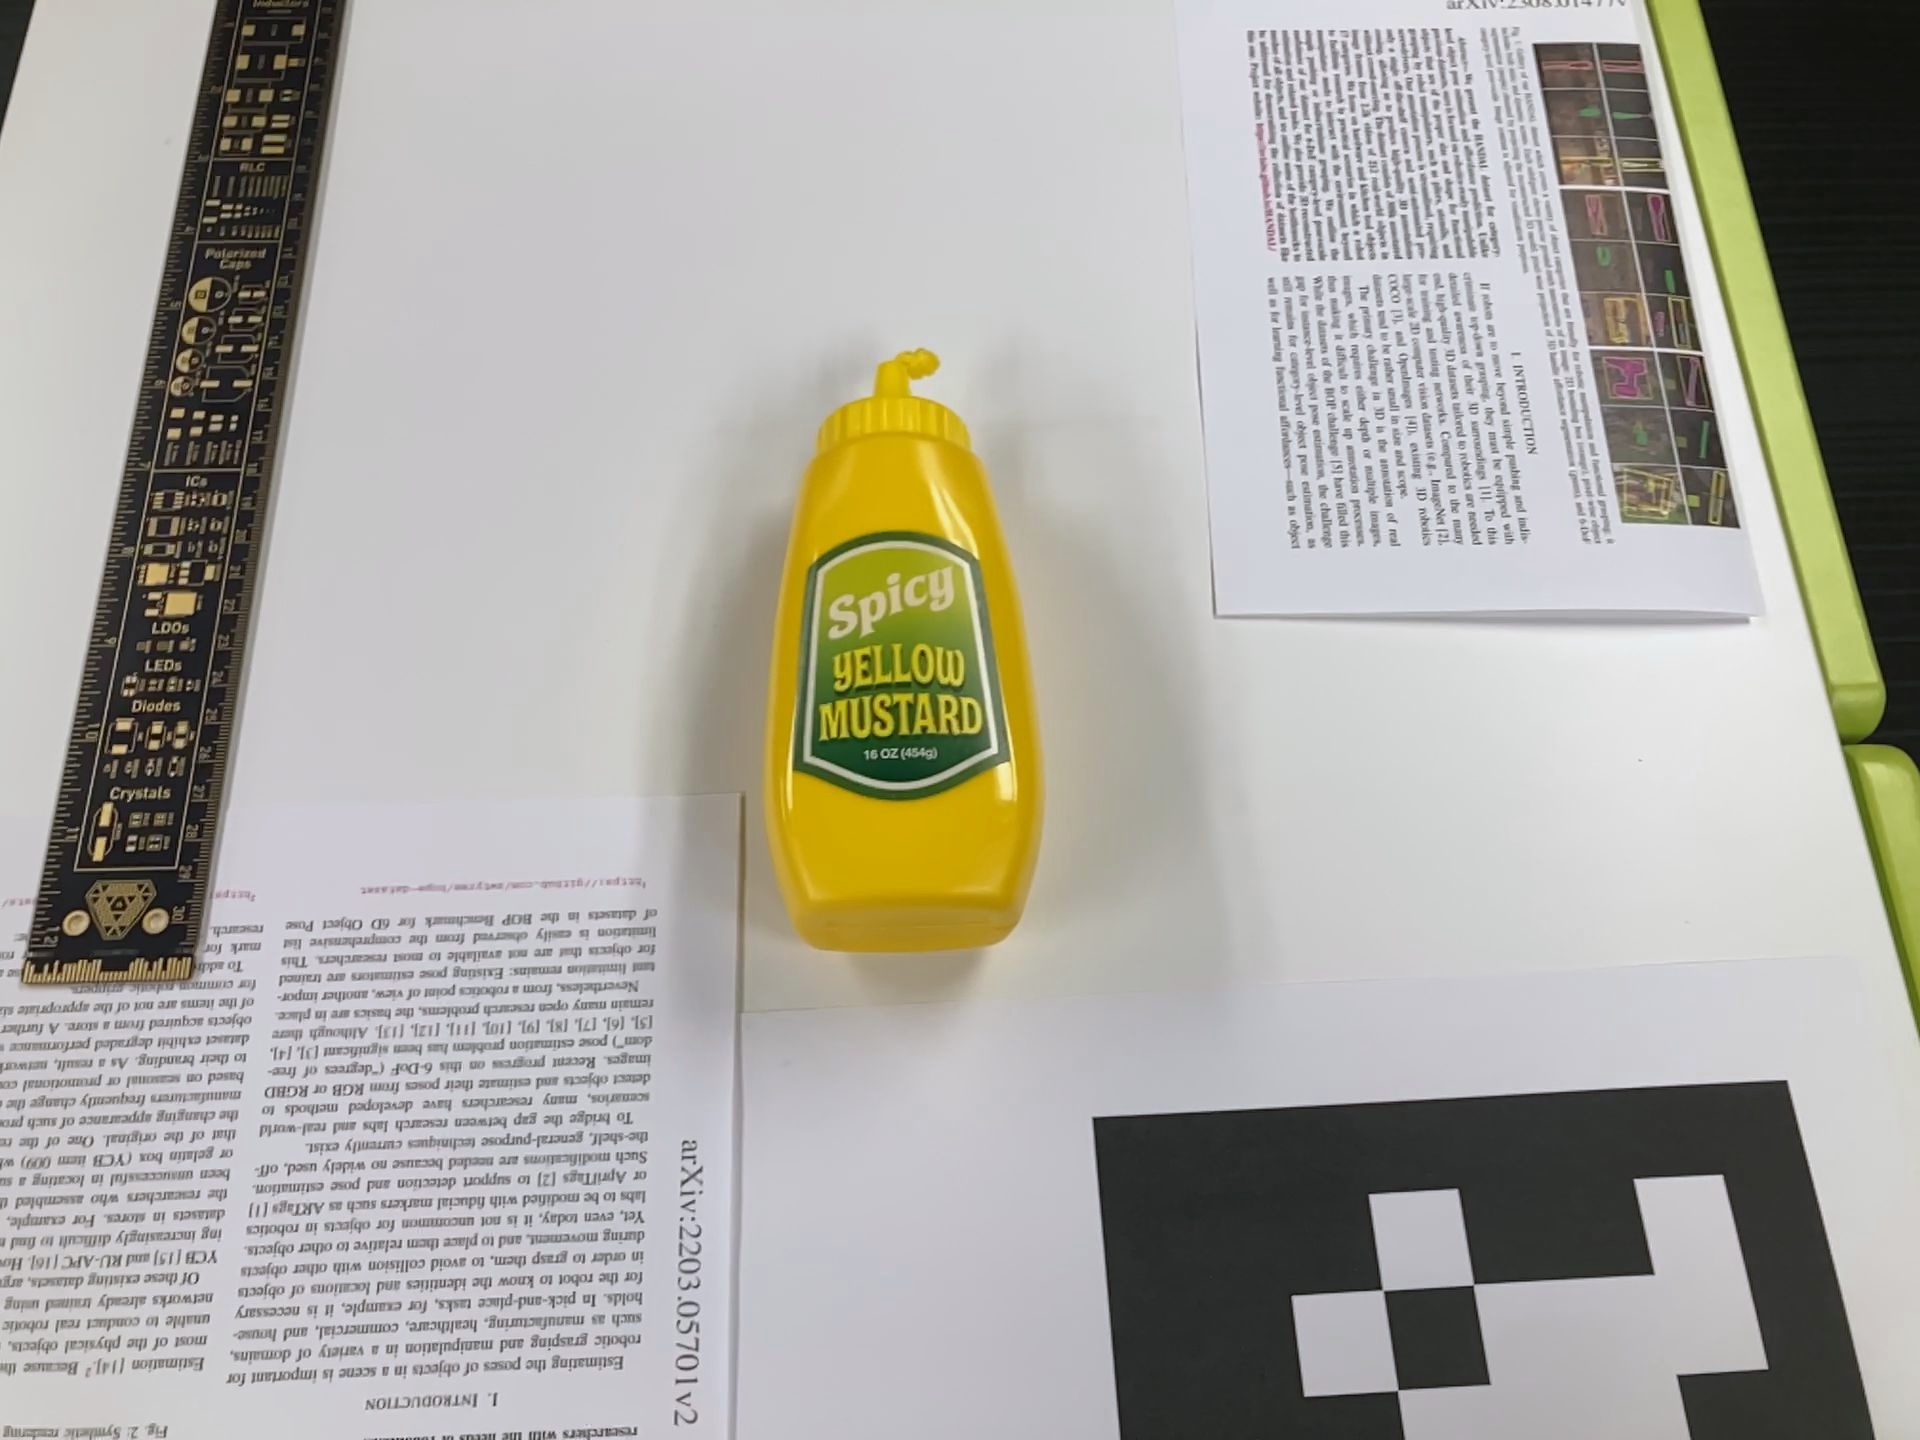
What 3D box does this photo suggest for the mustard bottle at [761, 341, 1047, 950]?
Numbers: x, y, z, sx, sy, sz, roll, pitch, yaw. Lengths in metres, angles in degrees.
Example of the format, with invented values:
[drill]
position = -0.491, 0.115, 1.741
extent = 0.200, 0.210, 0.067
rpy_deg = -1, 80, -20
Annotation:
[mustard bottle]
position = -0.015, -0.027, 0.383
extent = 0.065, 0.049, 0.160
rpy_deg = -2, 67, -3
